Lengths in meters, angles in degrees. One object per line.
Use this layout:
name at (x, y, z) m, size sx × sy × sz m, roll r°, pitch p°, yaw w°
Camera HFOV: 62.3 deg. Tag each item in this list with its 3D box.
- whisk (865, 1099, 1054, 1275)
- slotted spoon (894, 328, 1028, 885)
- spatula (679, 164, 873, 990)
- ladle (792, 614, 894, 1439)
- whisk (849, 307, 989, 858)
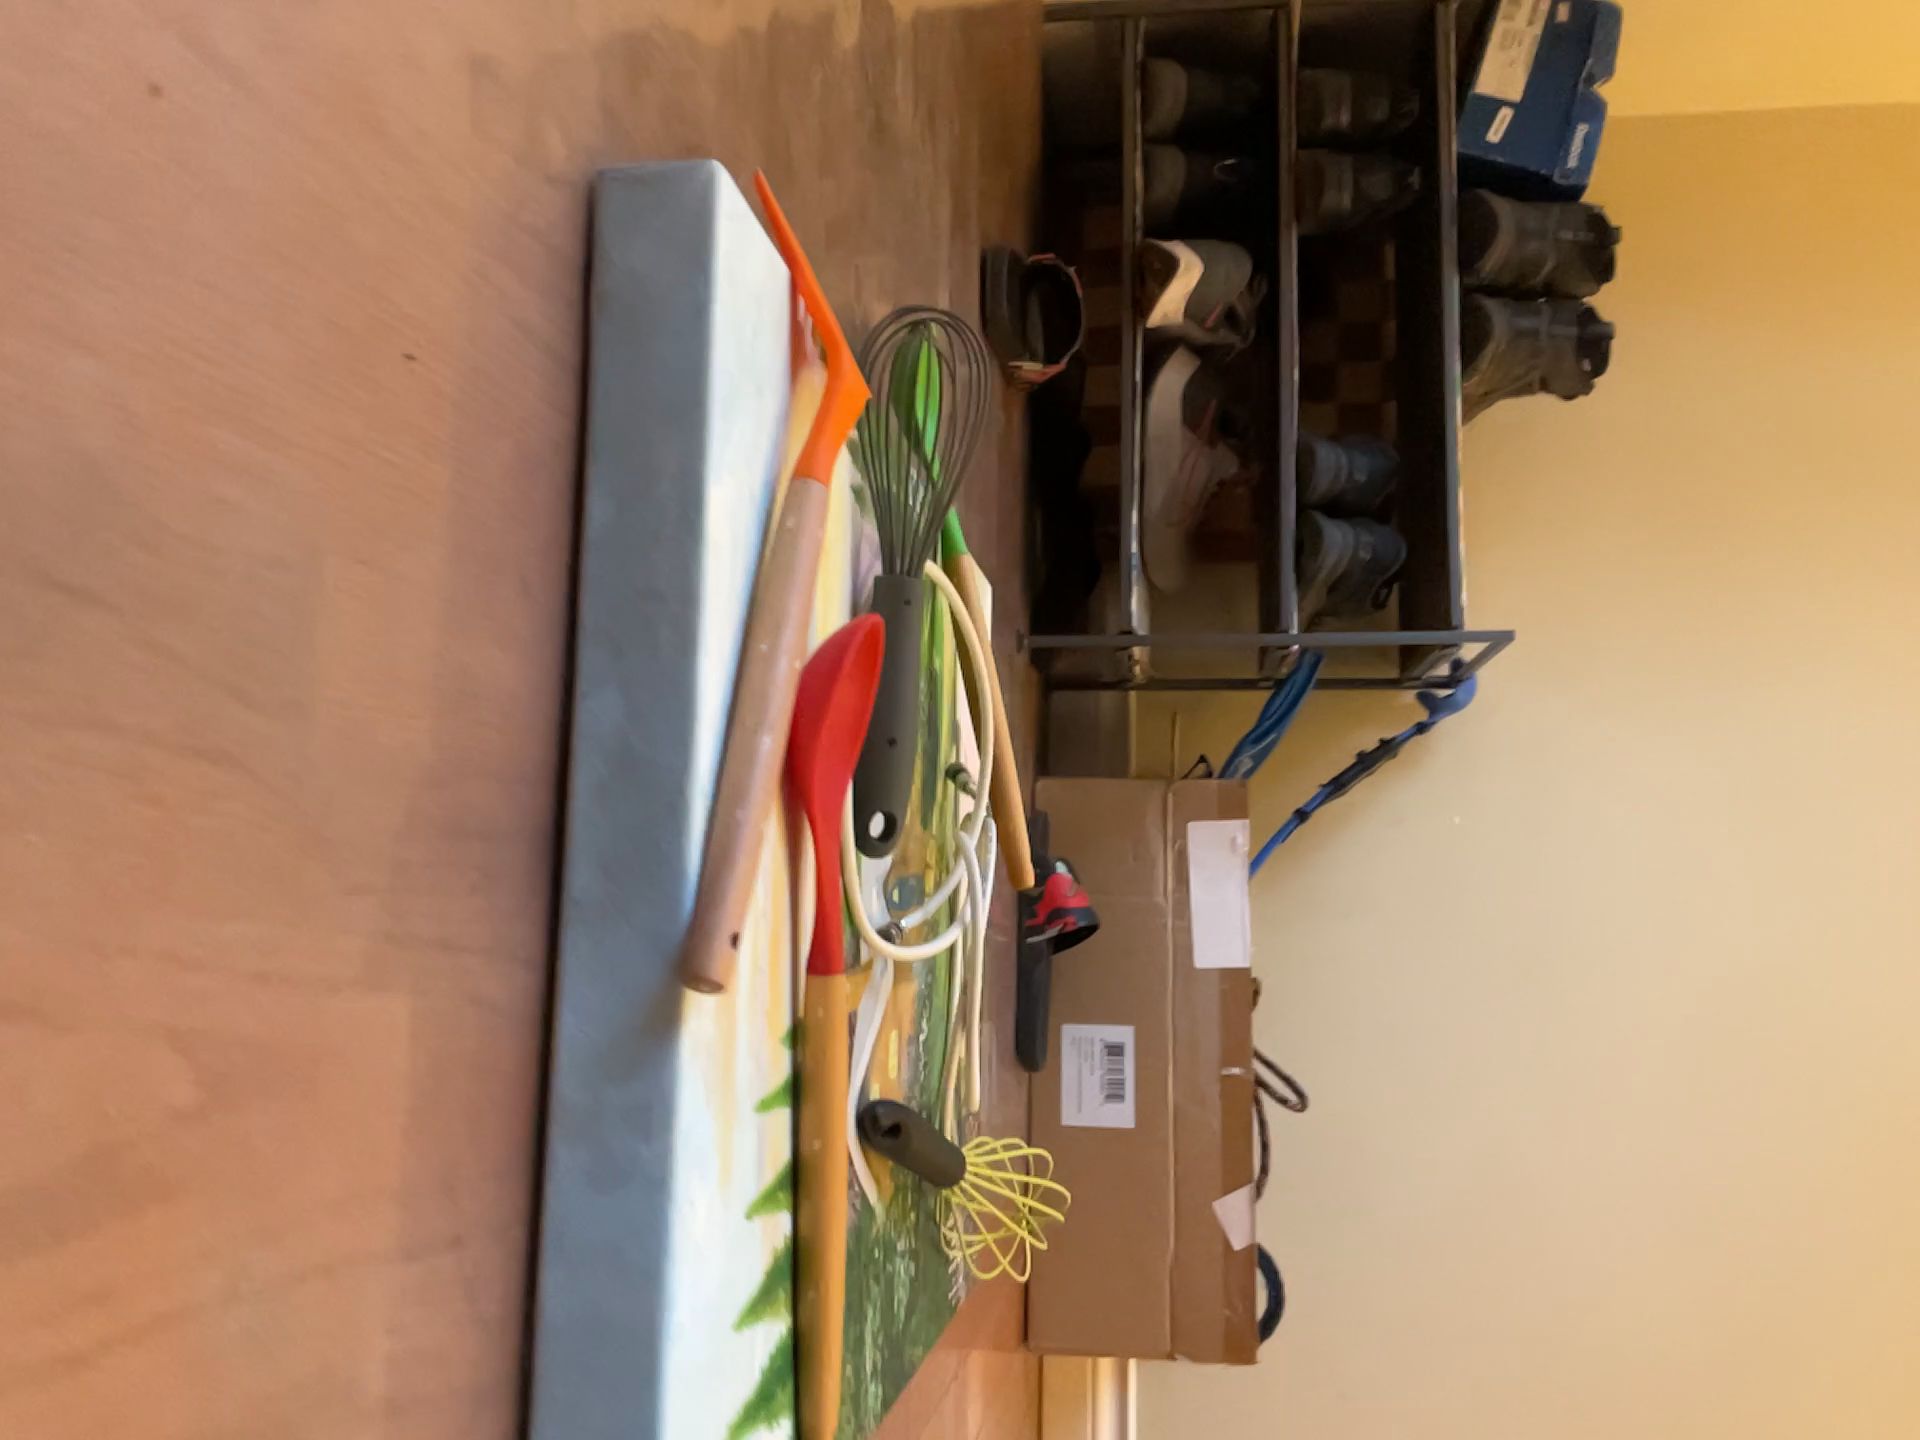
whisk at (-0.002, 0.236, 0.828) m, size 0.311 × 0.067 × 0.080 m, roll 61°, pitch 25°, yaw -61°
slotted spoon at (0.001, -0.066, 0.866) m, size 0.070 × 0.031 × 0.314 m, roll 32°, pitch 47°, yaw -80°
spatula at (-0.064, -0.060, 0.542) m, size 0.080 × 0.041 × 0.323 m, roll 60°, pitch 31°, yaw -52°
ladle at (-0.048, 0.118, 0.589) m, size 0.069 × 0.031 × 0.315 m, roll -4°, pitch 96°, yaw -80°
whisk at (-0.024, -0.059, 0.683) m, size 0.055 × 0.055 × 0.239 m, roll 1°, pitch 95°, yaw -71°
